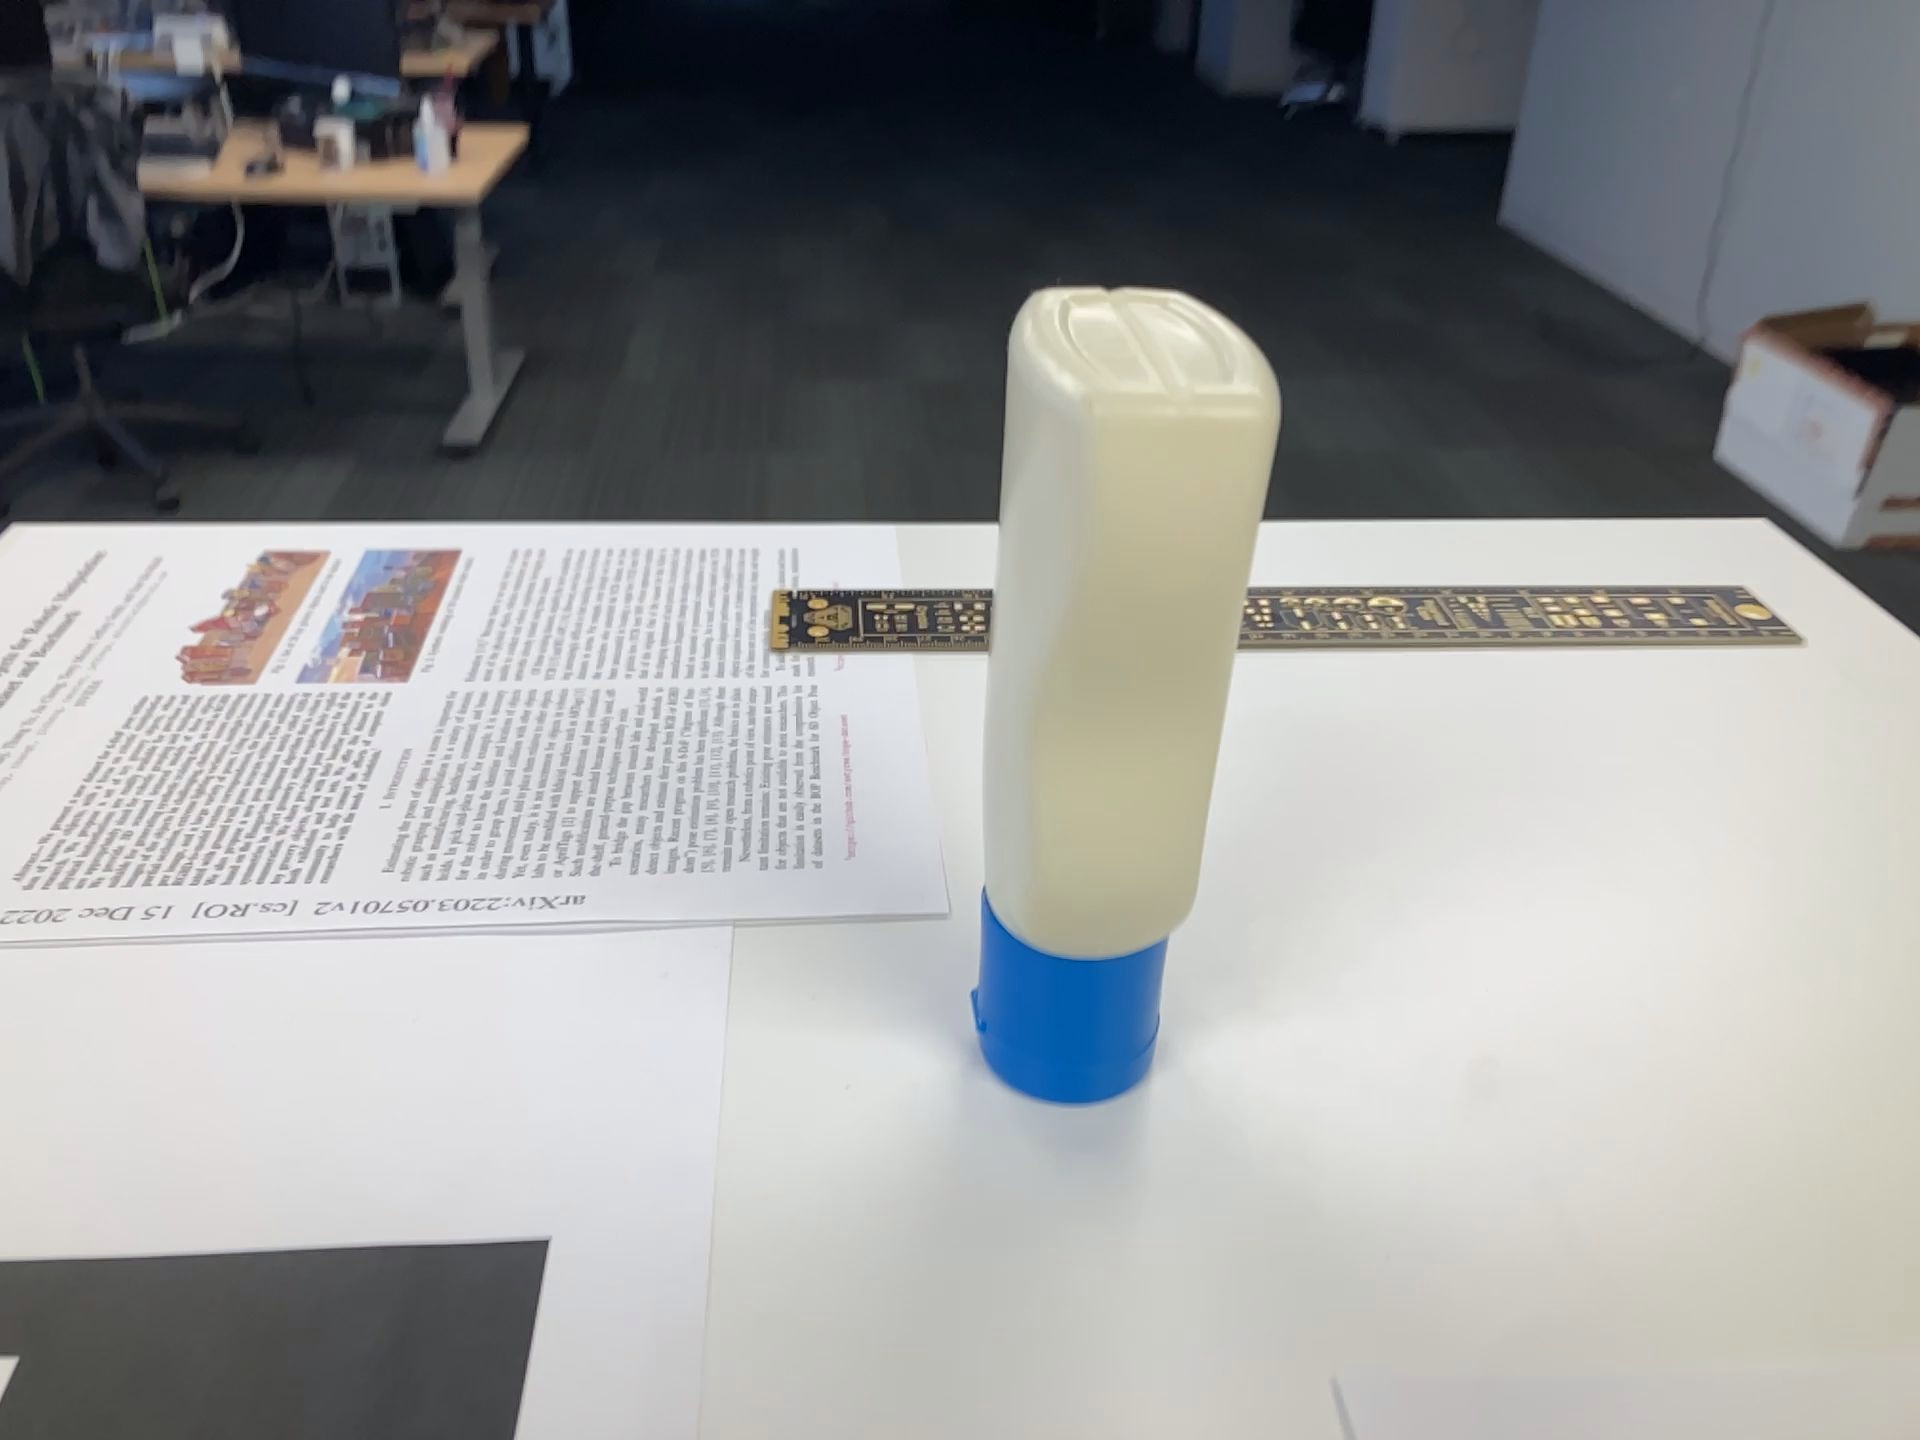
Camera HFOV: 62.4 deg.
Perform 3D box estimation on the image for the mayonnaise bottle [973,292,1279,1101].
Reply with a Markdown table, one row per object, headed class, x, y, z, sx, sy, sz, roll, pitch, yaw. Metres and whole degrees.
| class | x | y | z | sx | sy | sz | roll | pitch | yaw |
| --- | --- | --- | --- | --- | --- | --- | --- | --- | --- |
| mayonnaise bottle | 0.025 | 0.003 | 0.288 | 0.041 | 0.148 | 0.065 | -1 | 31 | -6 |
